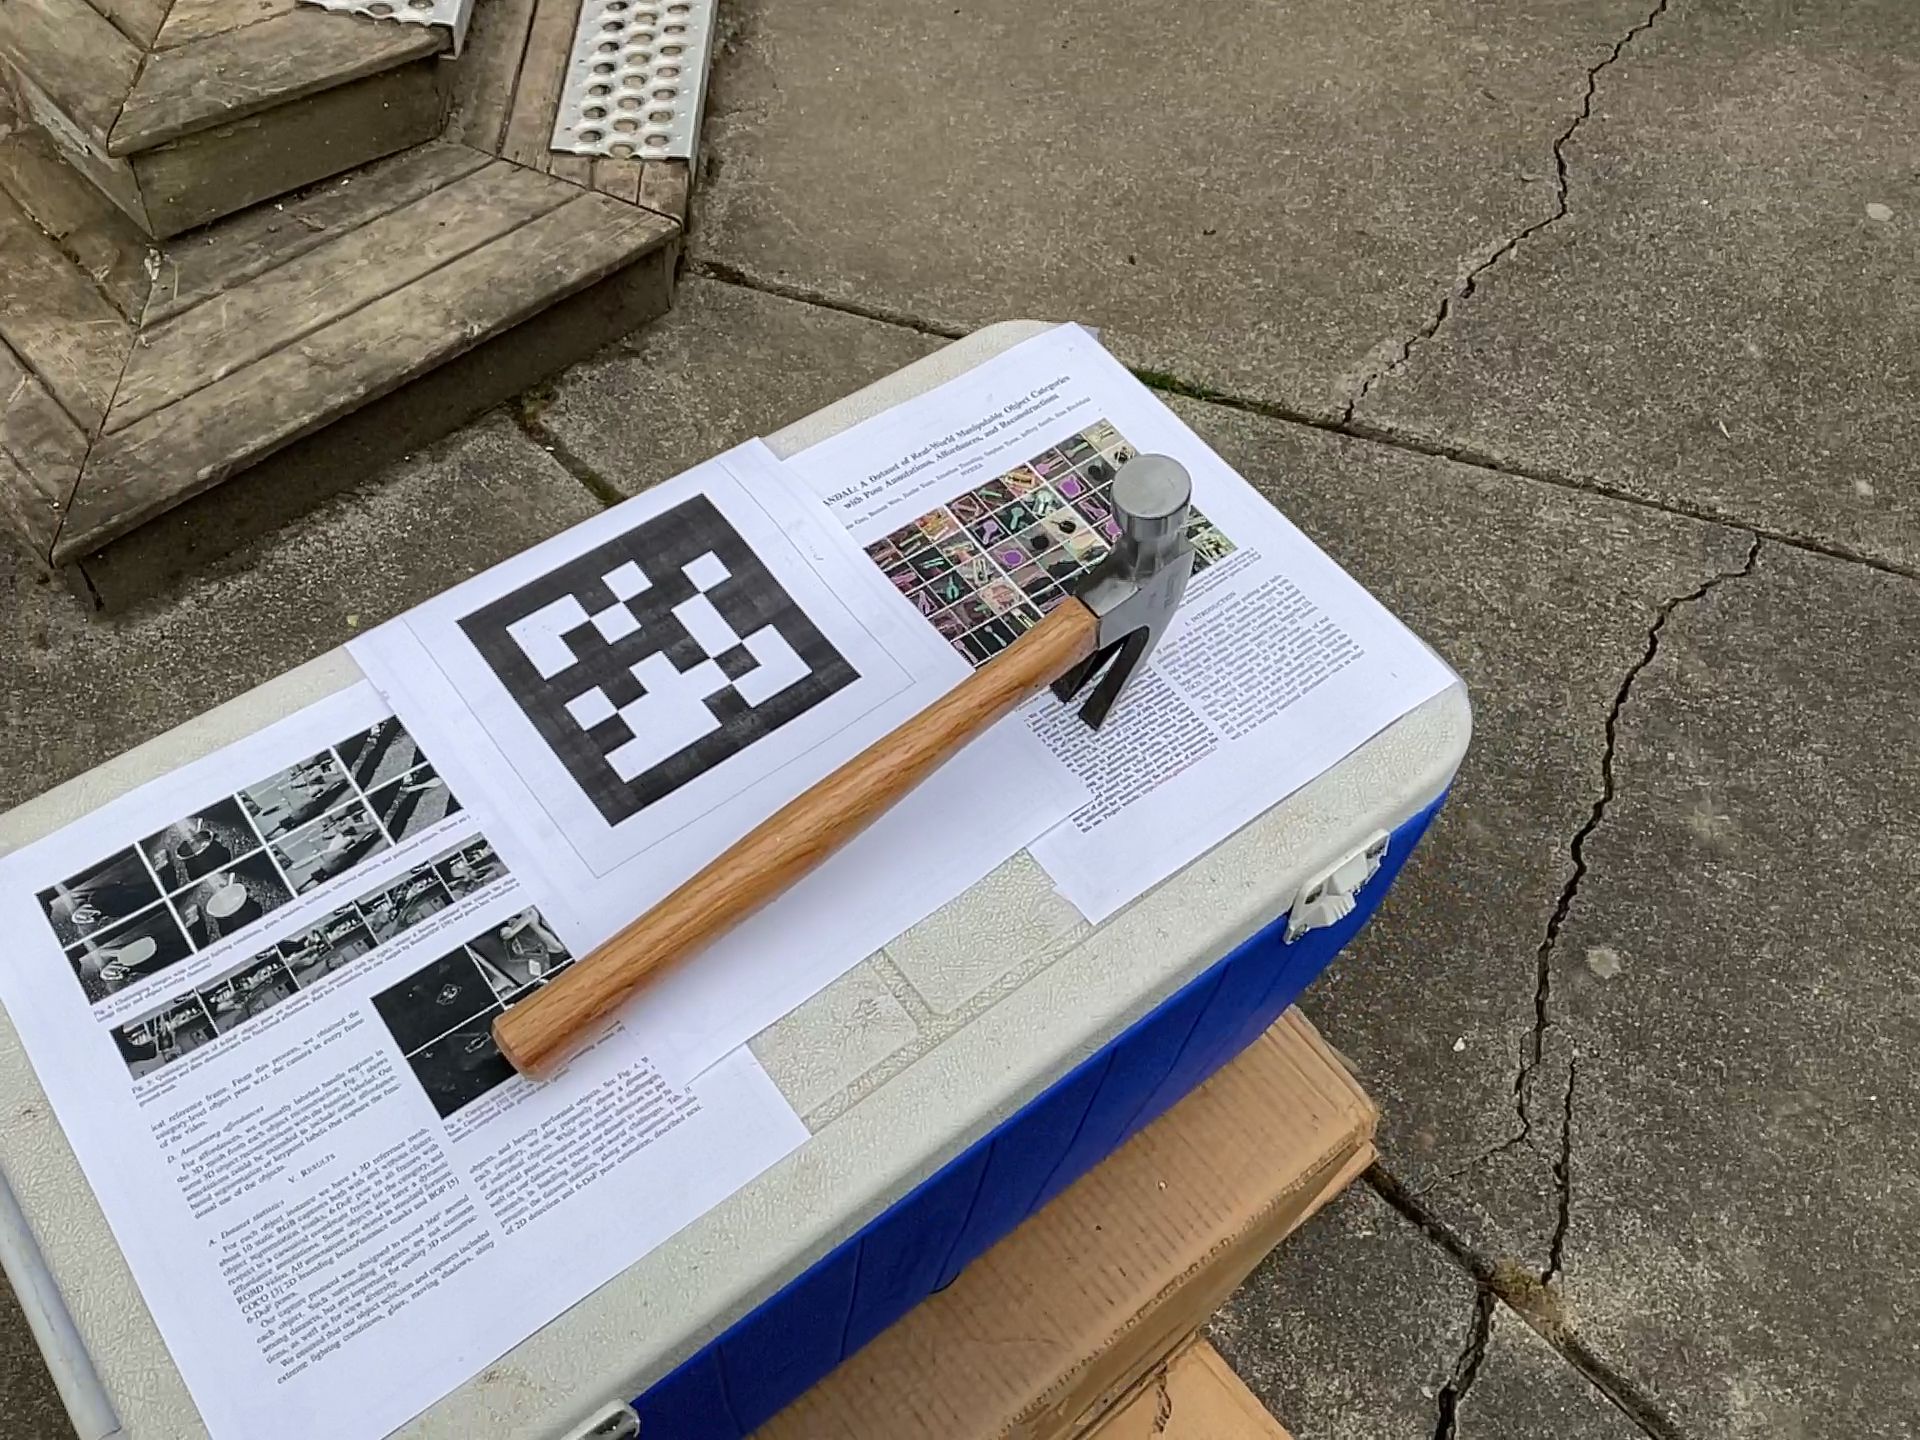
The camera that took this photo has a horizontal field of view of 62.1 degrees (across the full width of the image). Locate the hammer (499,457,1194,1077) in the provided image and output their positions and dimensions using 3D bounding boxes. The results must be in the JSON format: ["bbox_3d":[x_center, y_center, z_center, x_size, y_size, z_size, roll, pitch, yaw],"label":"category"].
[{"bbox_3d":[-0.037,0.028,0.637,0.331,0.130,0.031,-37,65,-13],"label":"hammer"}]
